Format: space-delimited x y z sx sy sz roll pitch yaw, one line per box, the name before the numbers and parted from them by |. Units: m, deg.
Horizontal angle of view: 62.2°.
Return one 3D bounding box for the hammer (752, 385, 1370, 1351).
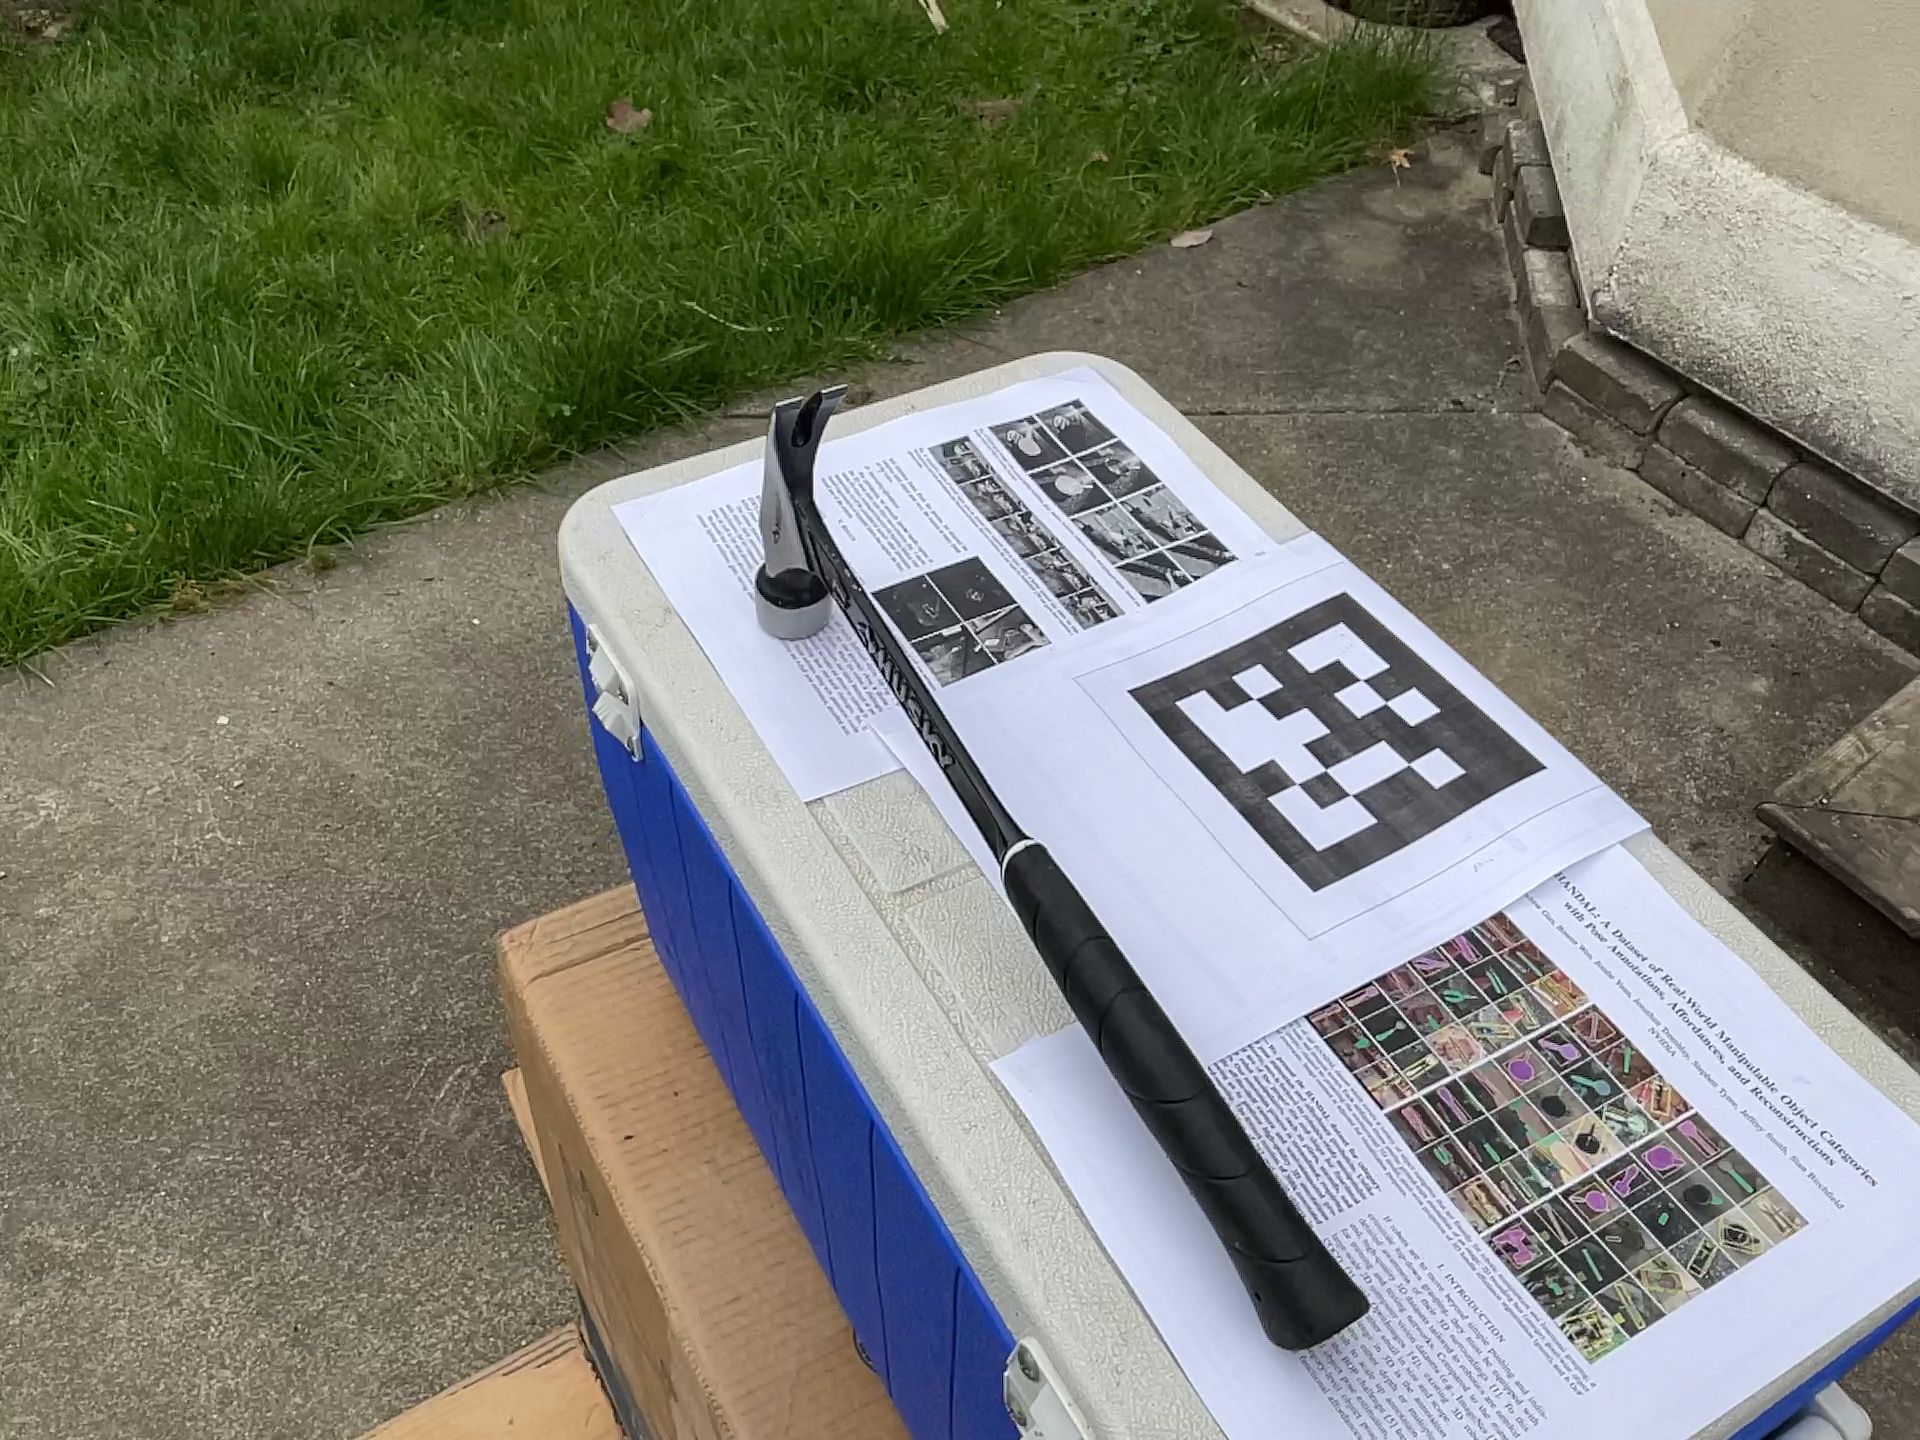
hammer | 0.018 0.041 0.590 0.036 0.149 0.409 -21 58 -21
